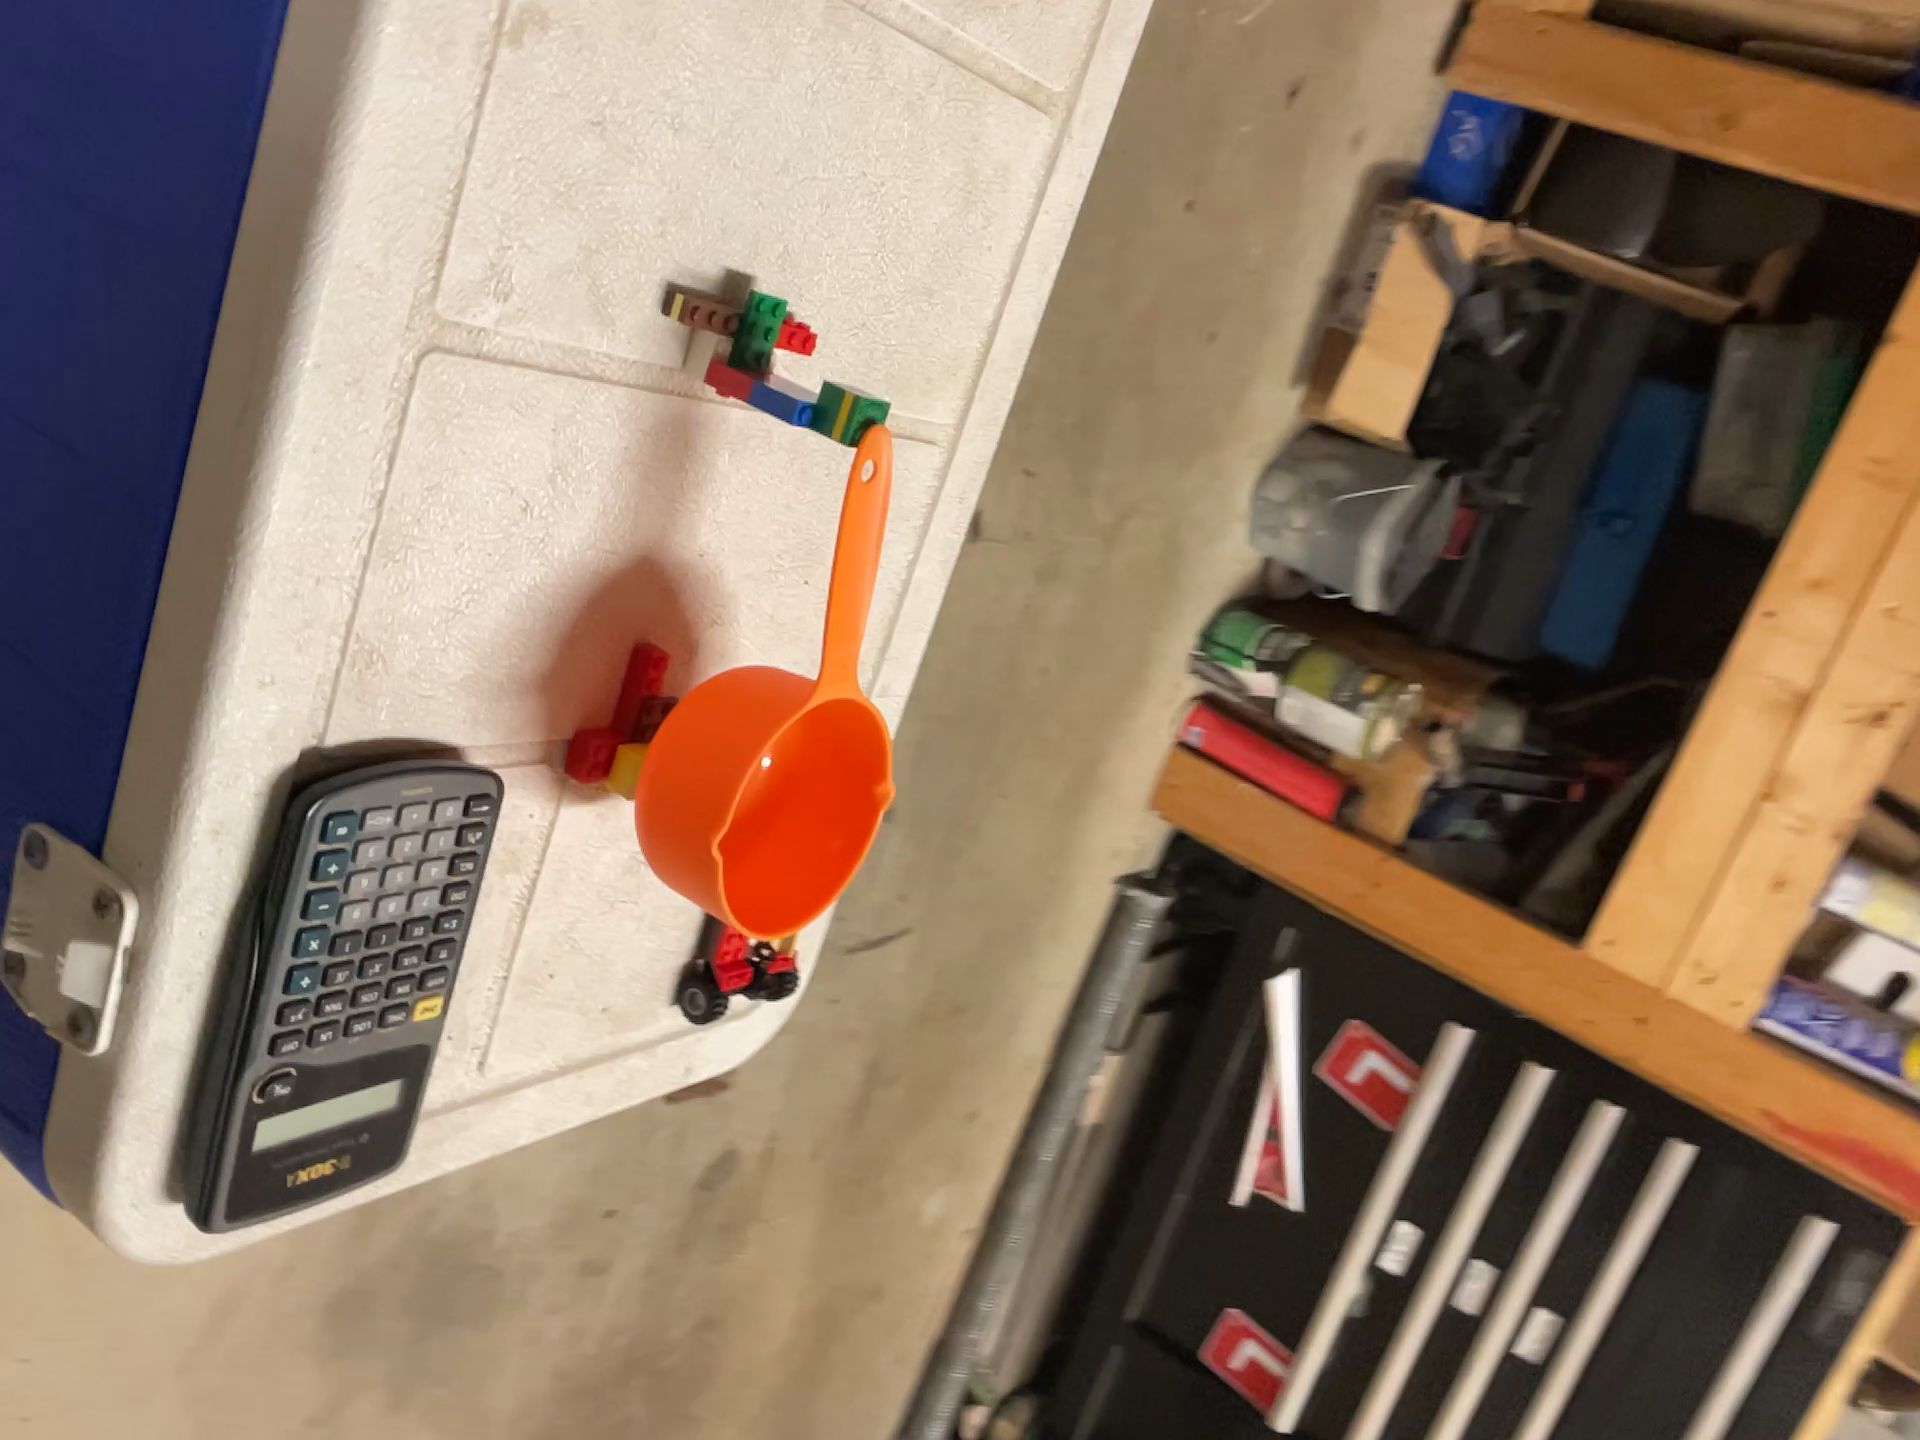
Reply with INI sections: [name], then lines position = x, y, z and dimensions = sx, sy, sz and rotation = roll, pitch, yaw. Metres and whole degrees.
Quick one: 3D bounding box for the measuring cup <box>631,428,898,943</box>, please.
[measuring cup]
position = -0.059, -0.015, 0.523
dimensions = 0.095, 0.052, 0.173
rotation = -13, 120, -56
